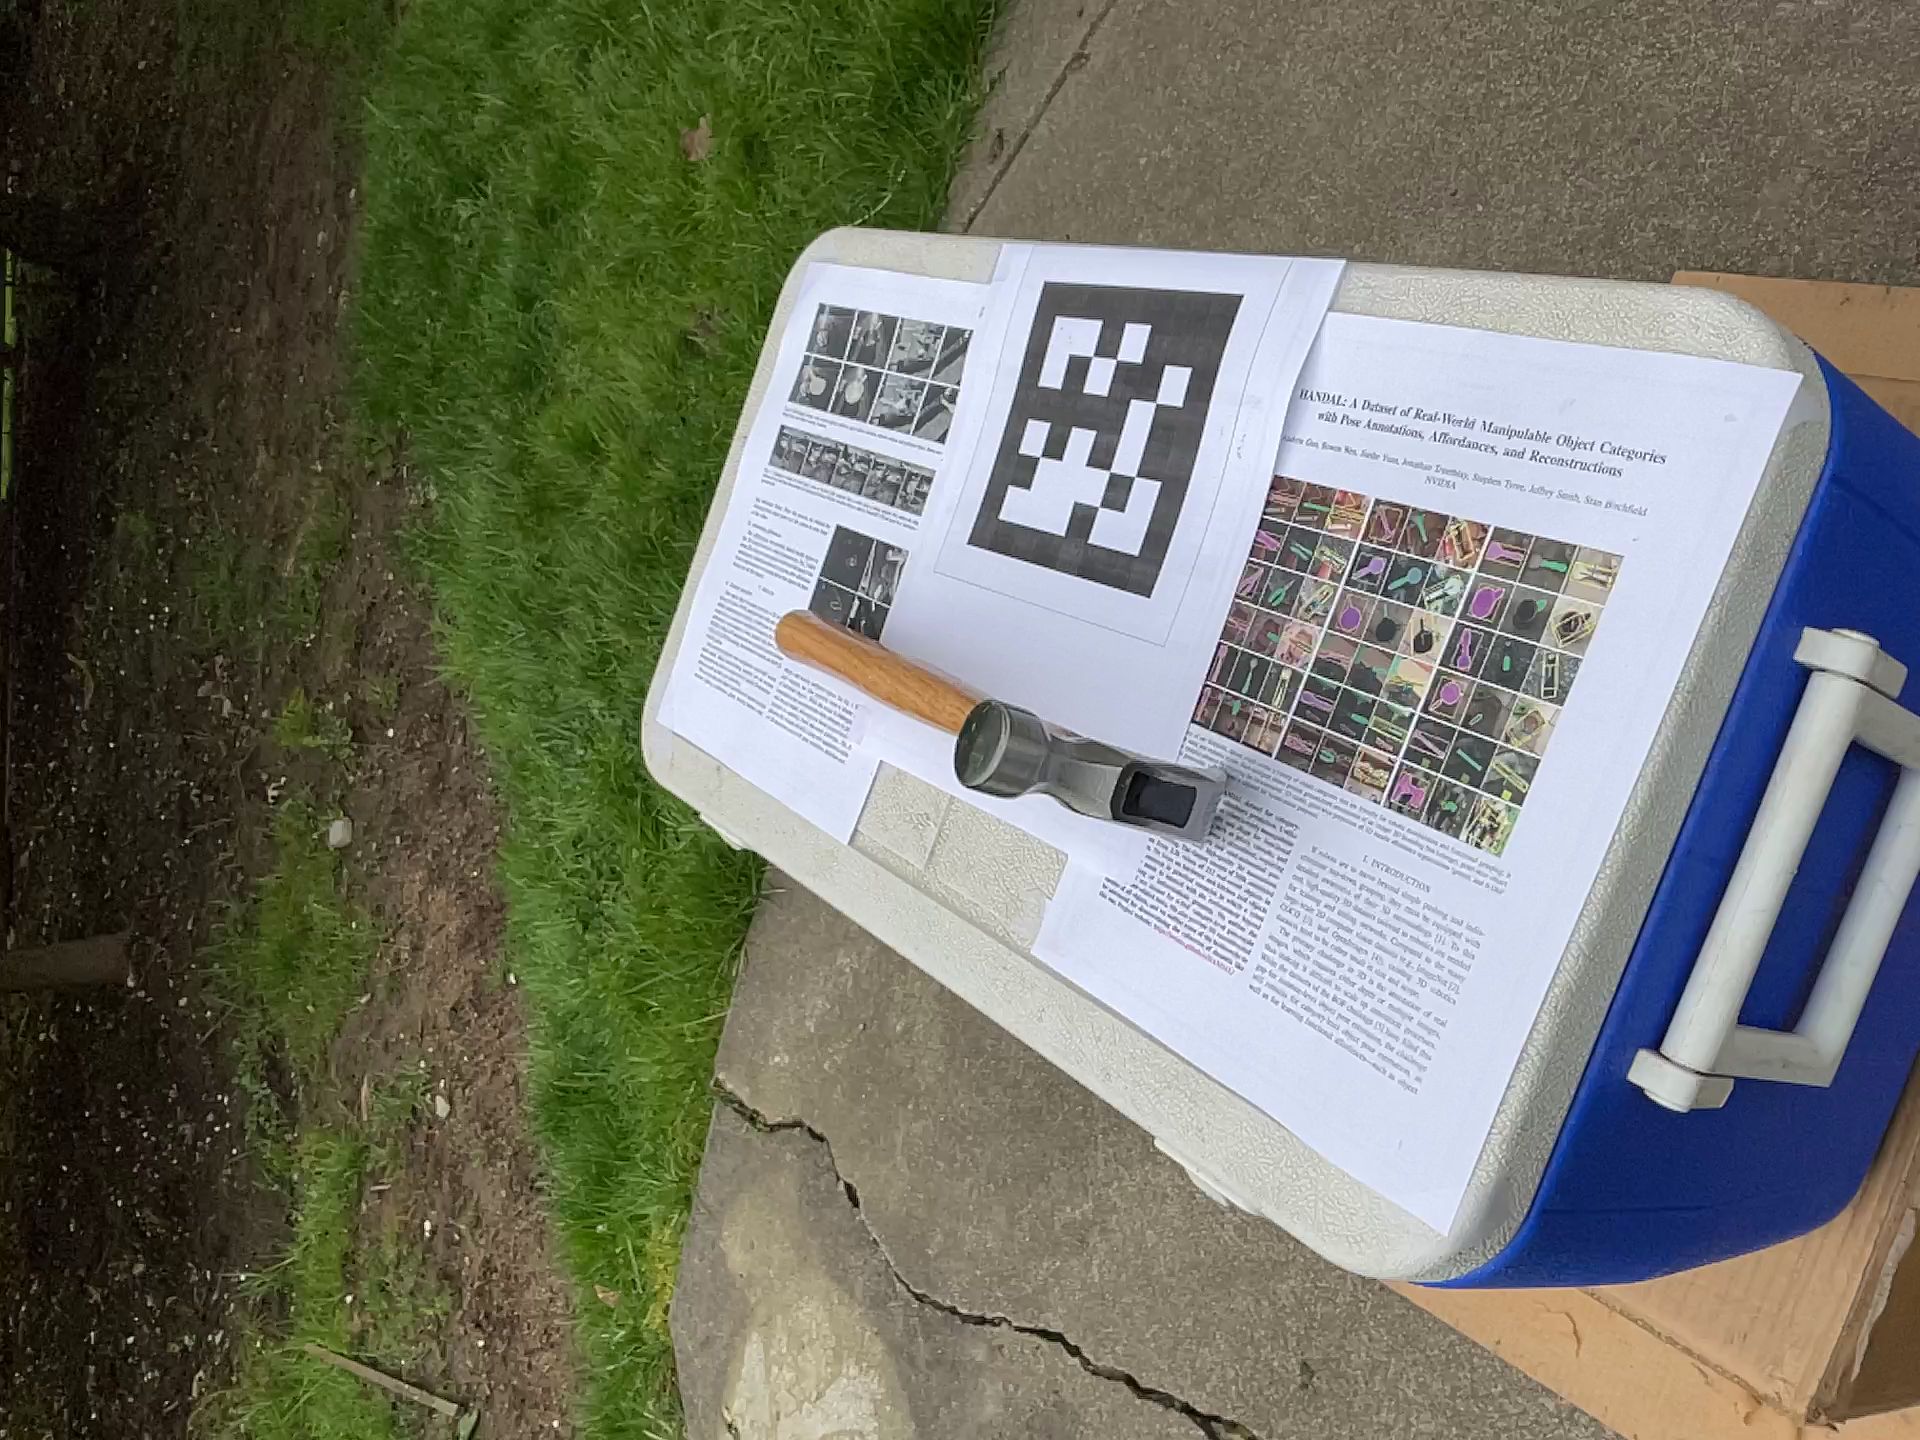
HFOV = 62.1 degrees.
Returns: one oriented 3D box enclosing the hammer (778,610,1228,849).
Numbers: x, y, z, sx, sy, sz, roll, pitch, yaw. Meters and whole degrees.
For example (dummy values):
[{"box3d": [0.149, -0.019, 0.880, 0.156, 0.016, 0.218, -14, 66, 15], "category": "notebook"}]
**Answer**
[{"box3d": [-0.004, -0.007, 0.678, 0.332, 0.129, 0.031, 26, 97, 61], "category": "hammer"}]
